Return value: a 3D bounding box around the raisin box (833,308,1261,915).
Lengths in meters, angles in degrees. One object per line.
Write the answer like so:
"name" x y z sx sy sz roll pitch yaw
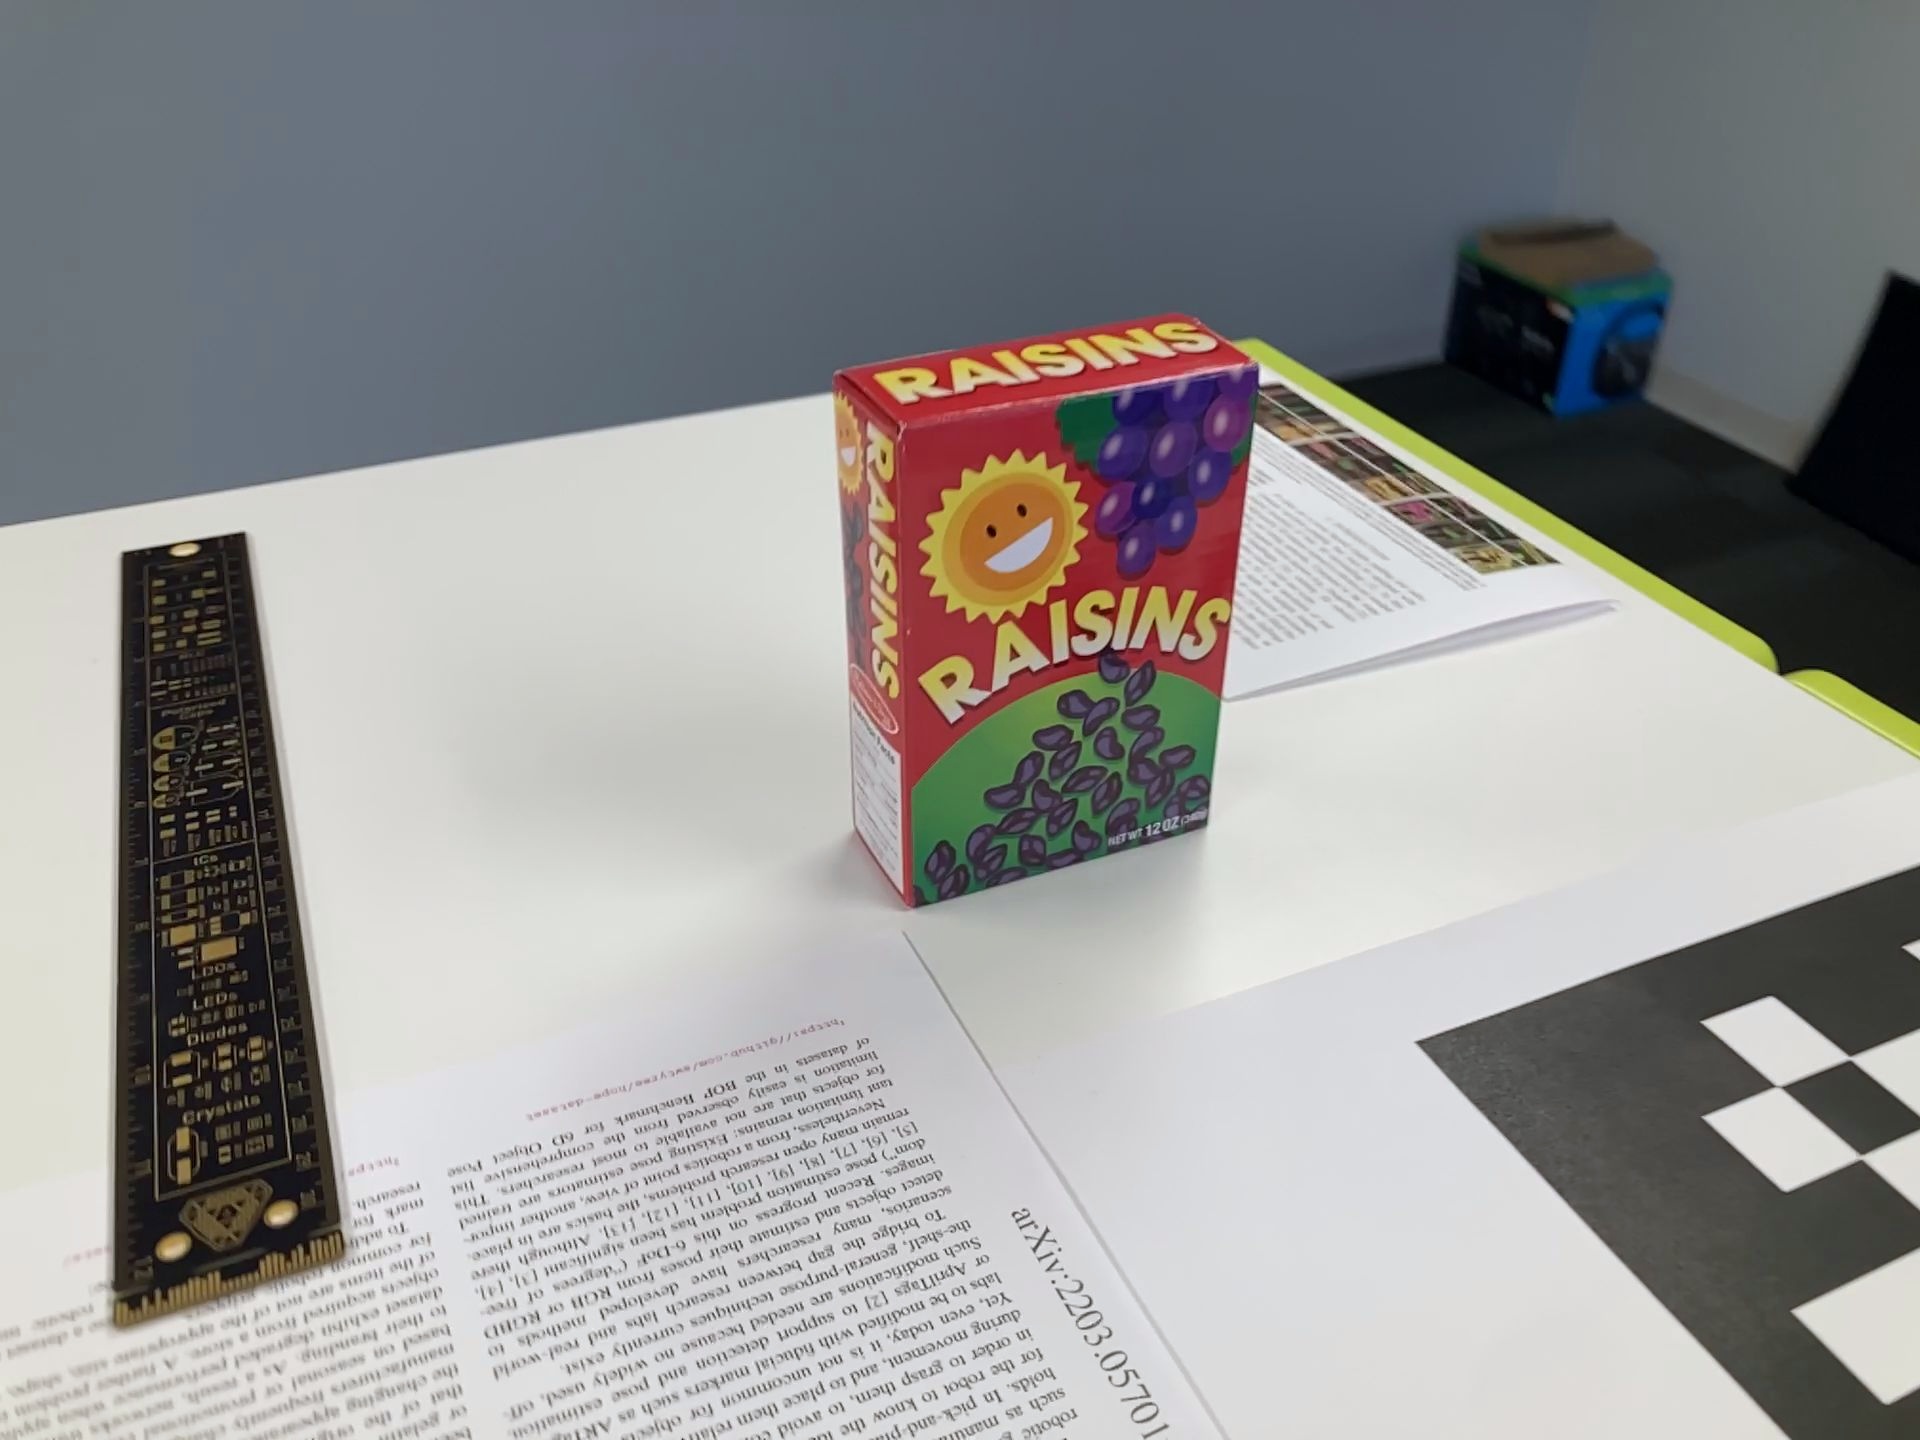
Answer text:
"raisin box" 0.019 -0.024 0.365 0.086 0.123 0.040 -13 35 -20
